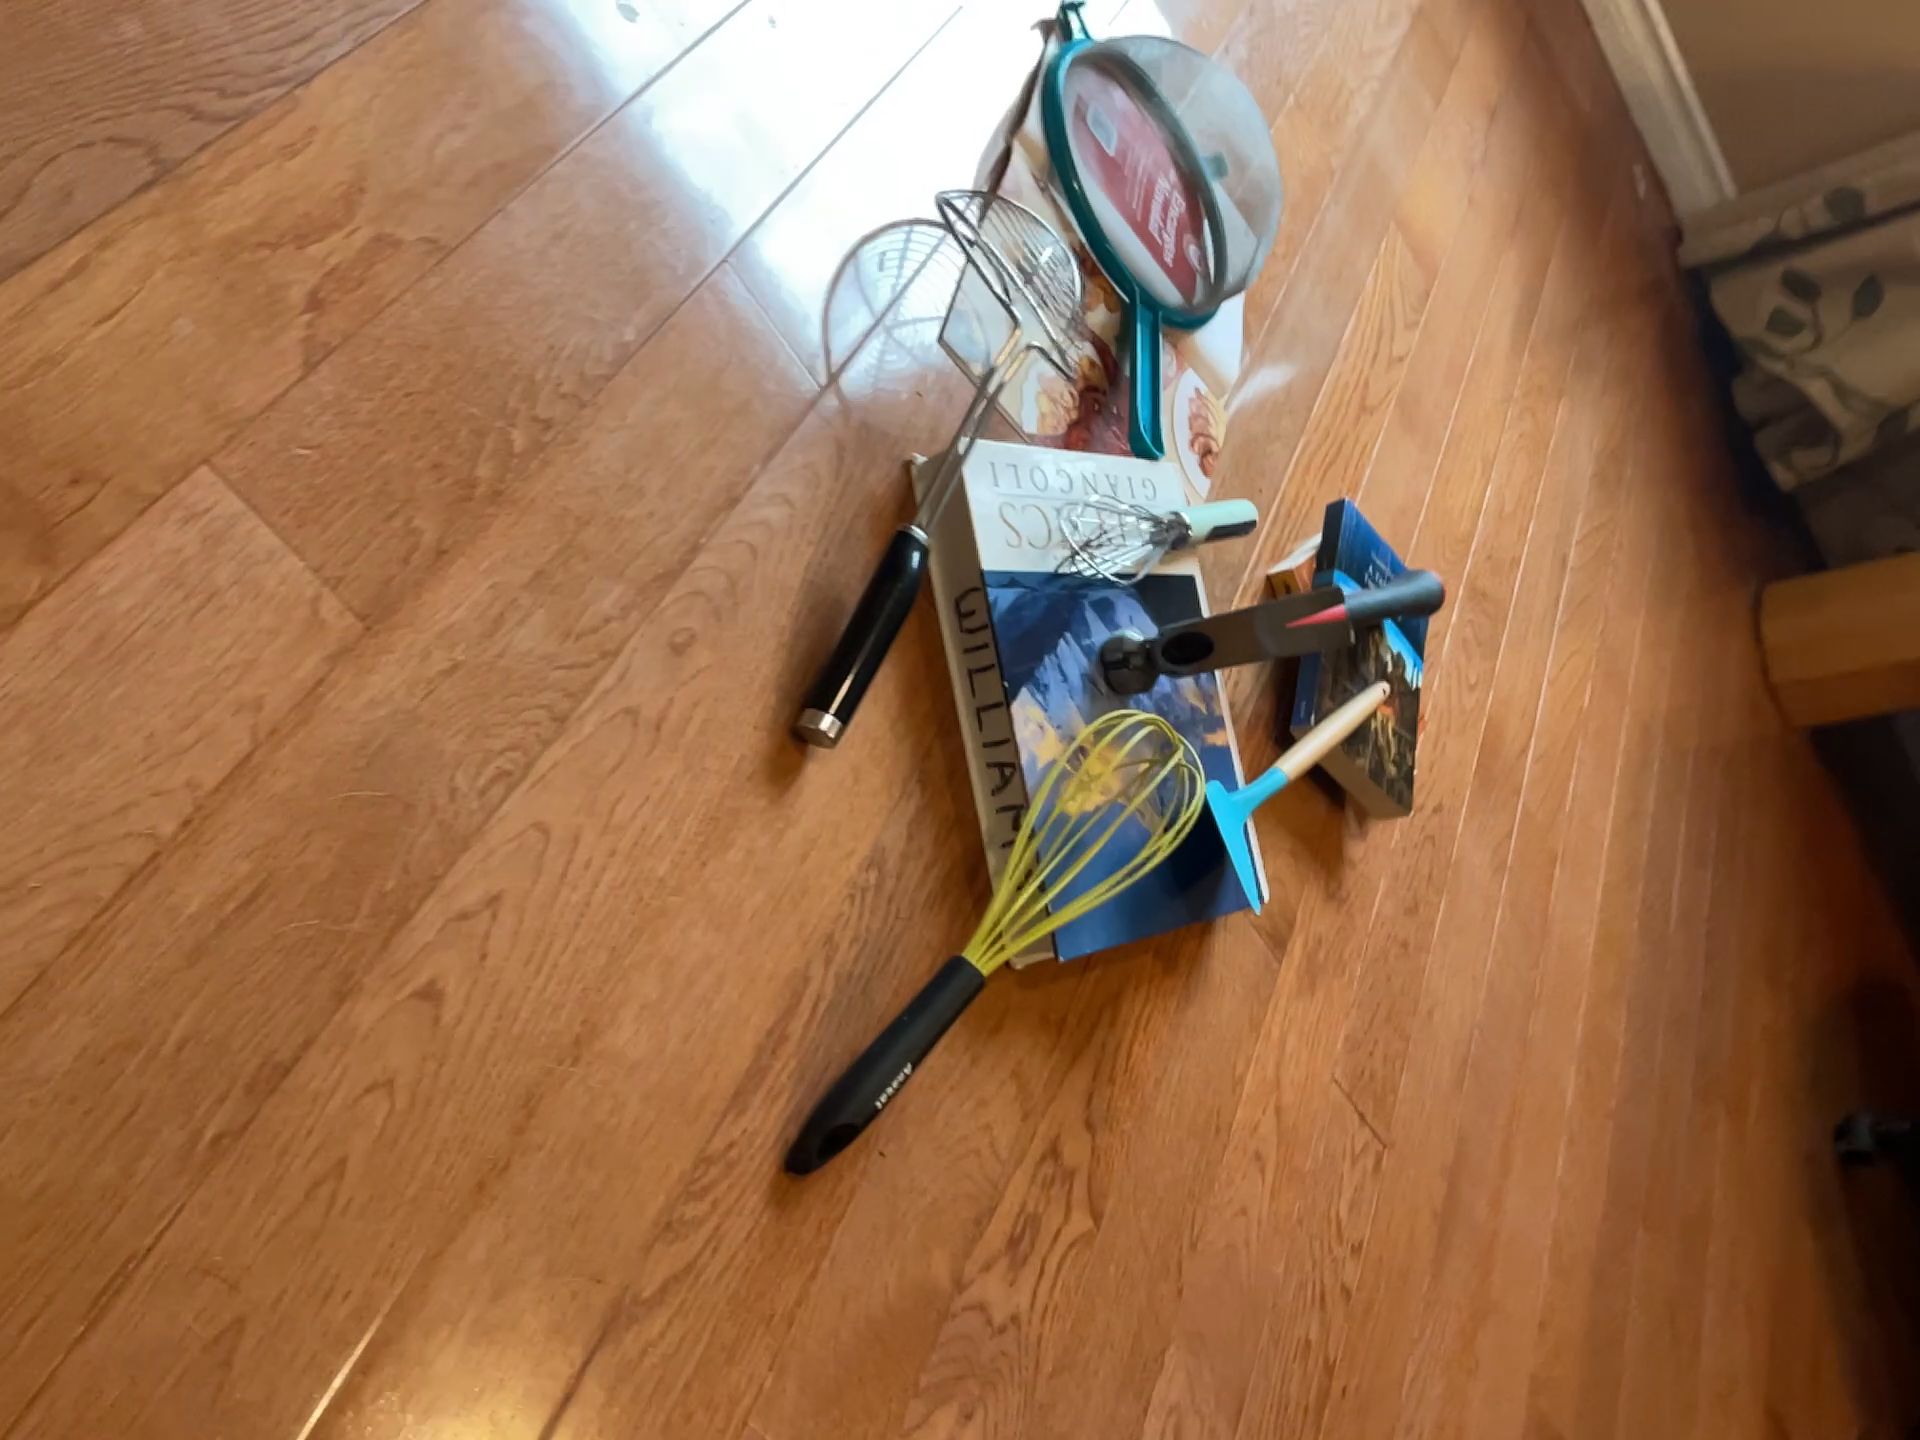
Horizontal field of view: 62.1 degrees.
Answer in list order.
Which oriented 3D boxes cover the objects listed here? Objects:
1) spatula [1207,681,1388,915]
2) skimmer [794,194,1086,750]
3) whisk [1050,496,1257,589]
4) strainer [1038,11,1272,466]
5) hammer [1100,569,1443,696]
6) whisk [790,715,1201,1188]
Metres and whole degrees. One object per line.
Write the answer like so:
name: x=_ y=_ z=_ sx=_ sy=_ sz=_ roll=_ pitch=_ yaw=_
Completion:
spatula: x=0.221 y=0.027 z=1.013 sx=0.318 sy=0.044 sz=0.082 roll=-30 pitch=100 yaw=-50
skimmer: x=-0.021 y=-0.138 z=0.852 sx=0.127 sy=0.090 sz=0.364 roll=44 pitch=58 yaw=-35
whisk: x=0.123 y=-0.111 z=0.949 sx=0.059 sy=0.057 sz=0.246 roll=47 pitch=31 yaw=16
strainer: x=0.150 y=-0.320 z=1.050 sx=0.211 sy=0.095 sz=0.341 roll=31 pitch=49 yaw=-41
hammer: x=0.245 y=-0.069 z=1.012 sx=0.387 sy=0.143 sz=0.038 roll=-14 pitch=92 yaw=-54
whisk: x=0.020 y=0.104 z=0.770 sx=0.312 sy=0.067 sz=0.080 roll=-46 pitch=130 yaw=-31
